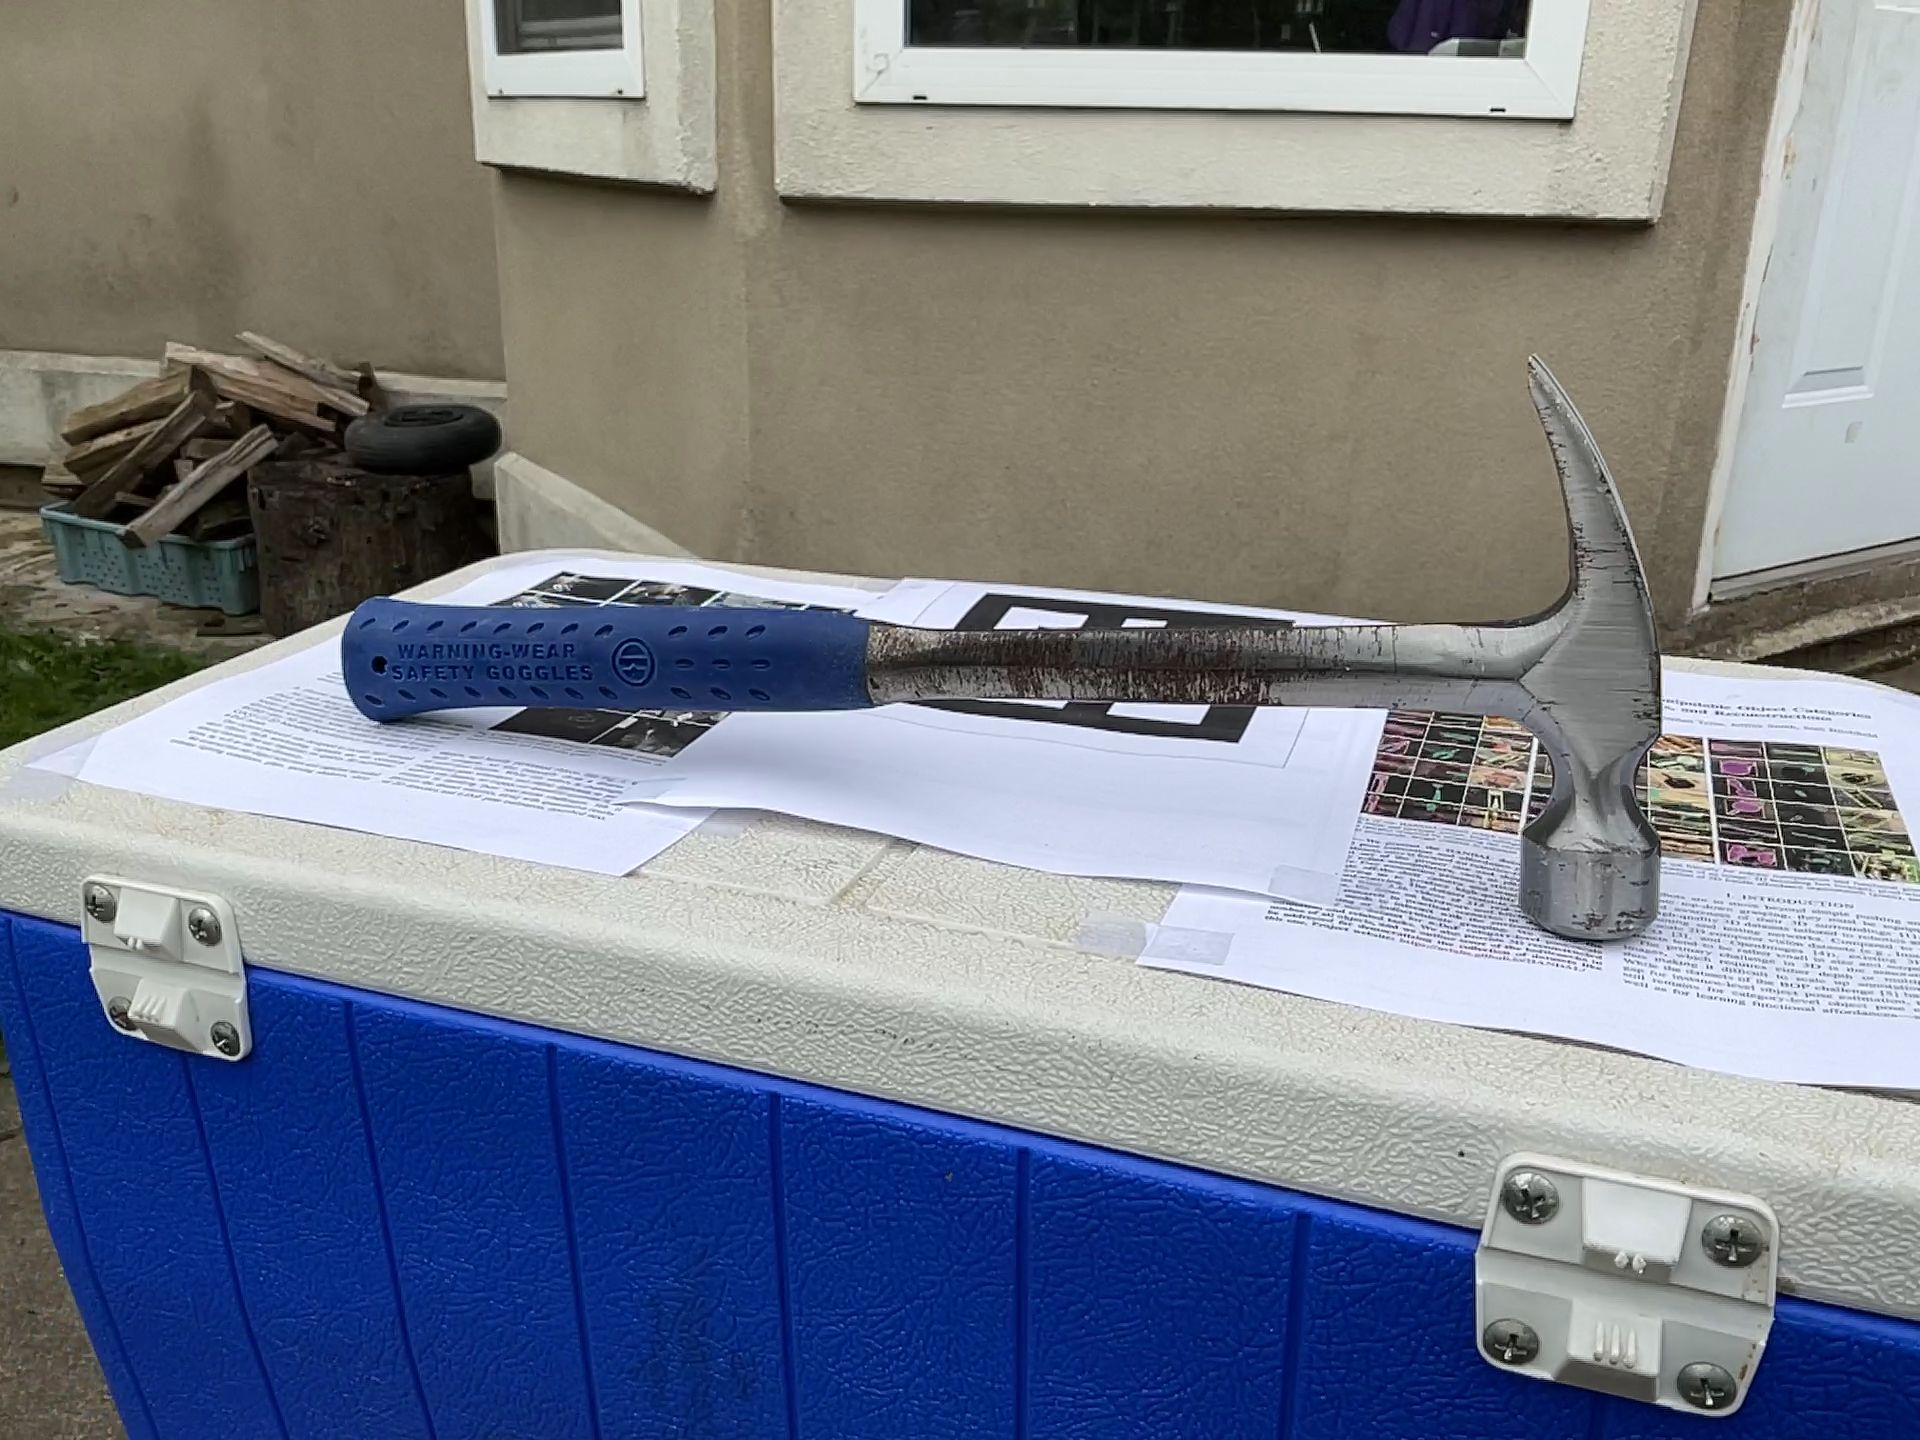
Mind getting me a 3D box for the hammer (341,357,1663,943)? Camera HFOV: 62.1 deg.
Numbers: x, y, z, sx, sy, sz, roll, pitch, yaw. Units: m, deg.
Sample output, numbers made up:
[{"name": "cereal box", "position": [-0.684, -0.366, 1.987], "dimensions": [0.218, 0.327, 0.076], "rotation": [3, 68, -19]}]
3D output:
[{"name": "hammer", "position": [-0.014, -0.021, 0.468], "dimensions": [0.405, 0.144, 0.035], "rotation": [1, 13, 23]}]
